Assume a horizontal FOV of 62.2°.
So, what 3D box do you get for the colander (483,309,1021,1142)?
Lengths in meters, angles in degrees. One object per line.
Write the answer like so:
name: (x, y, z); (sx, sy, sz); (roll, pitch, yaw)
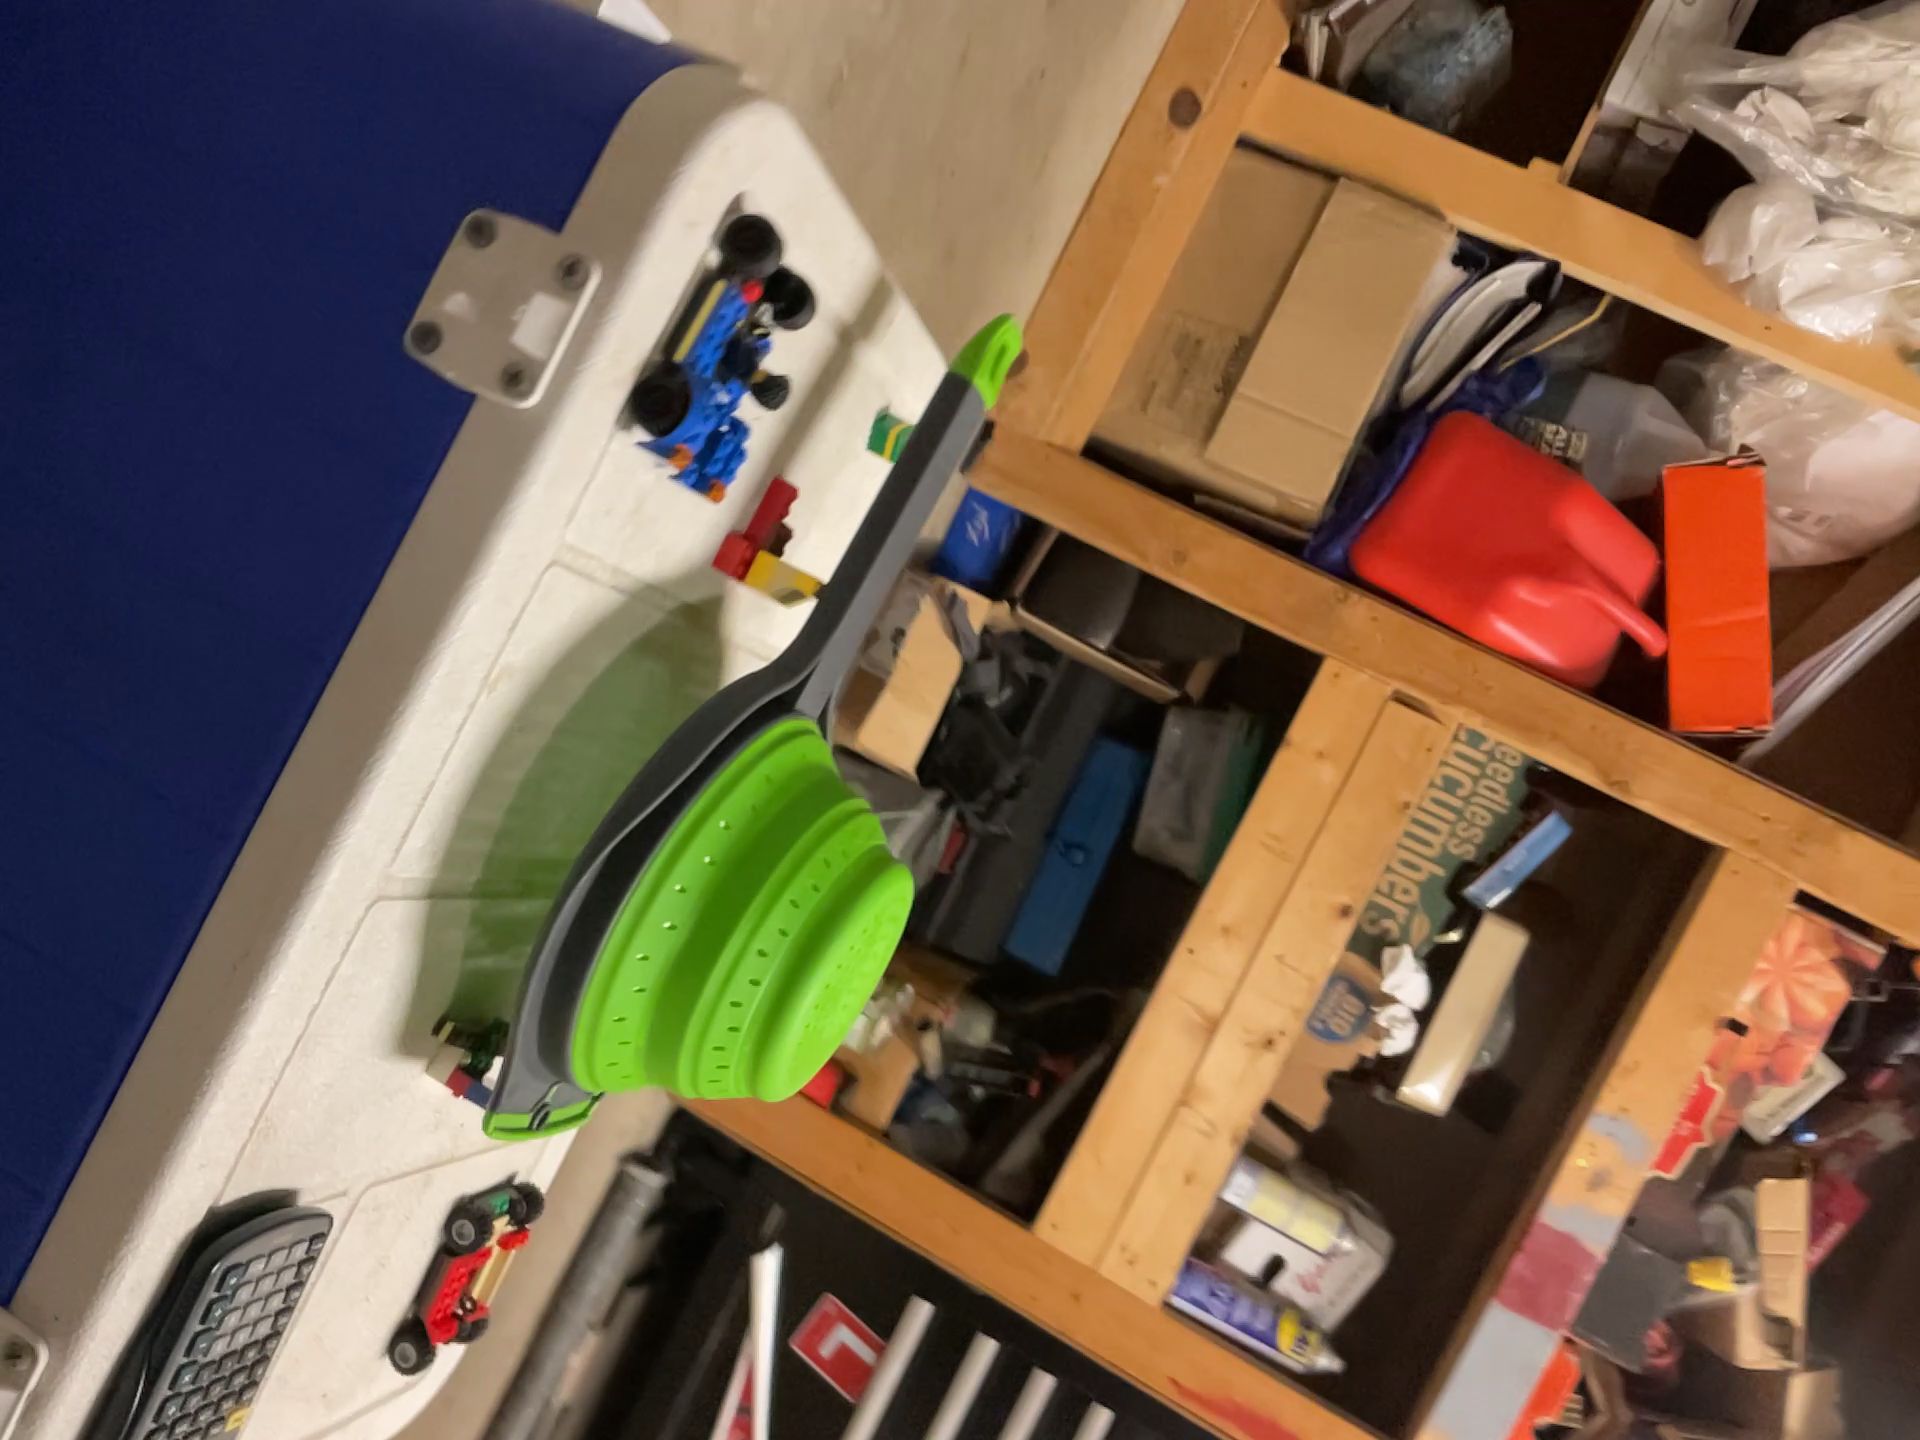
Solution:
colander: (-0.045, 0.016, 0.662); (0.397, 0.094, 0.204); (-61, 167, -5)
